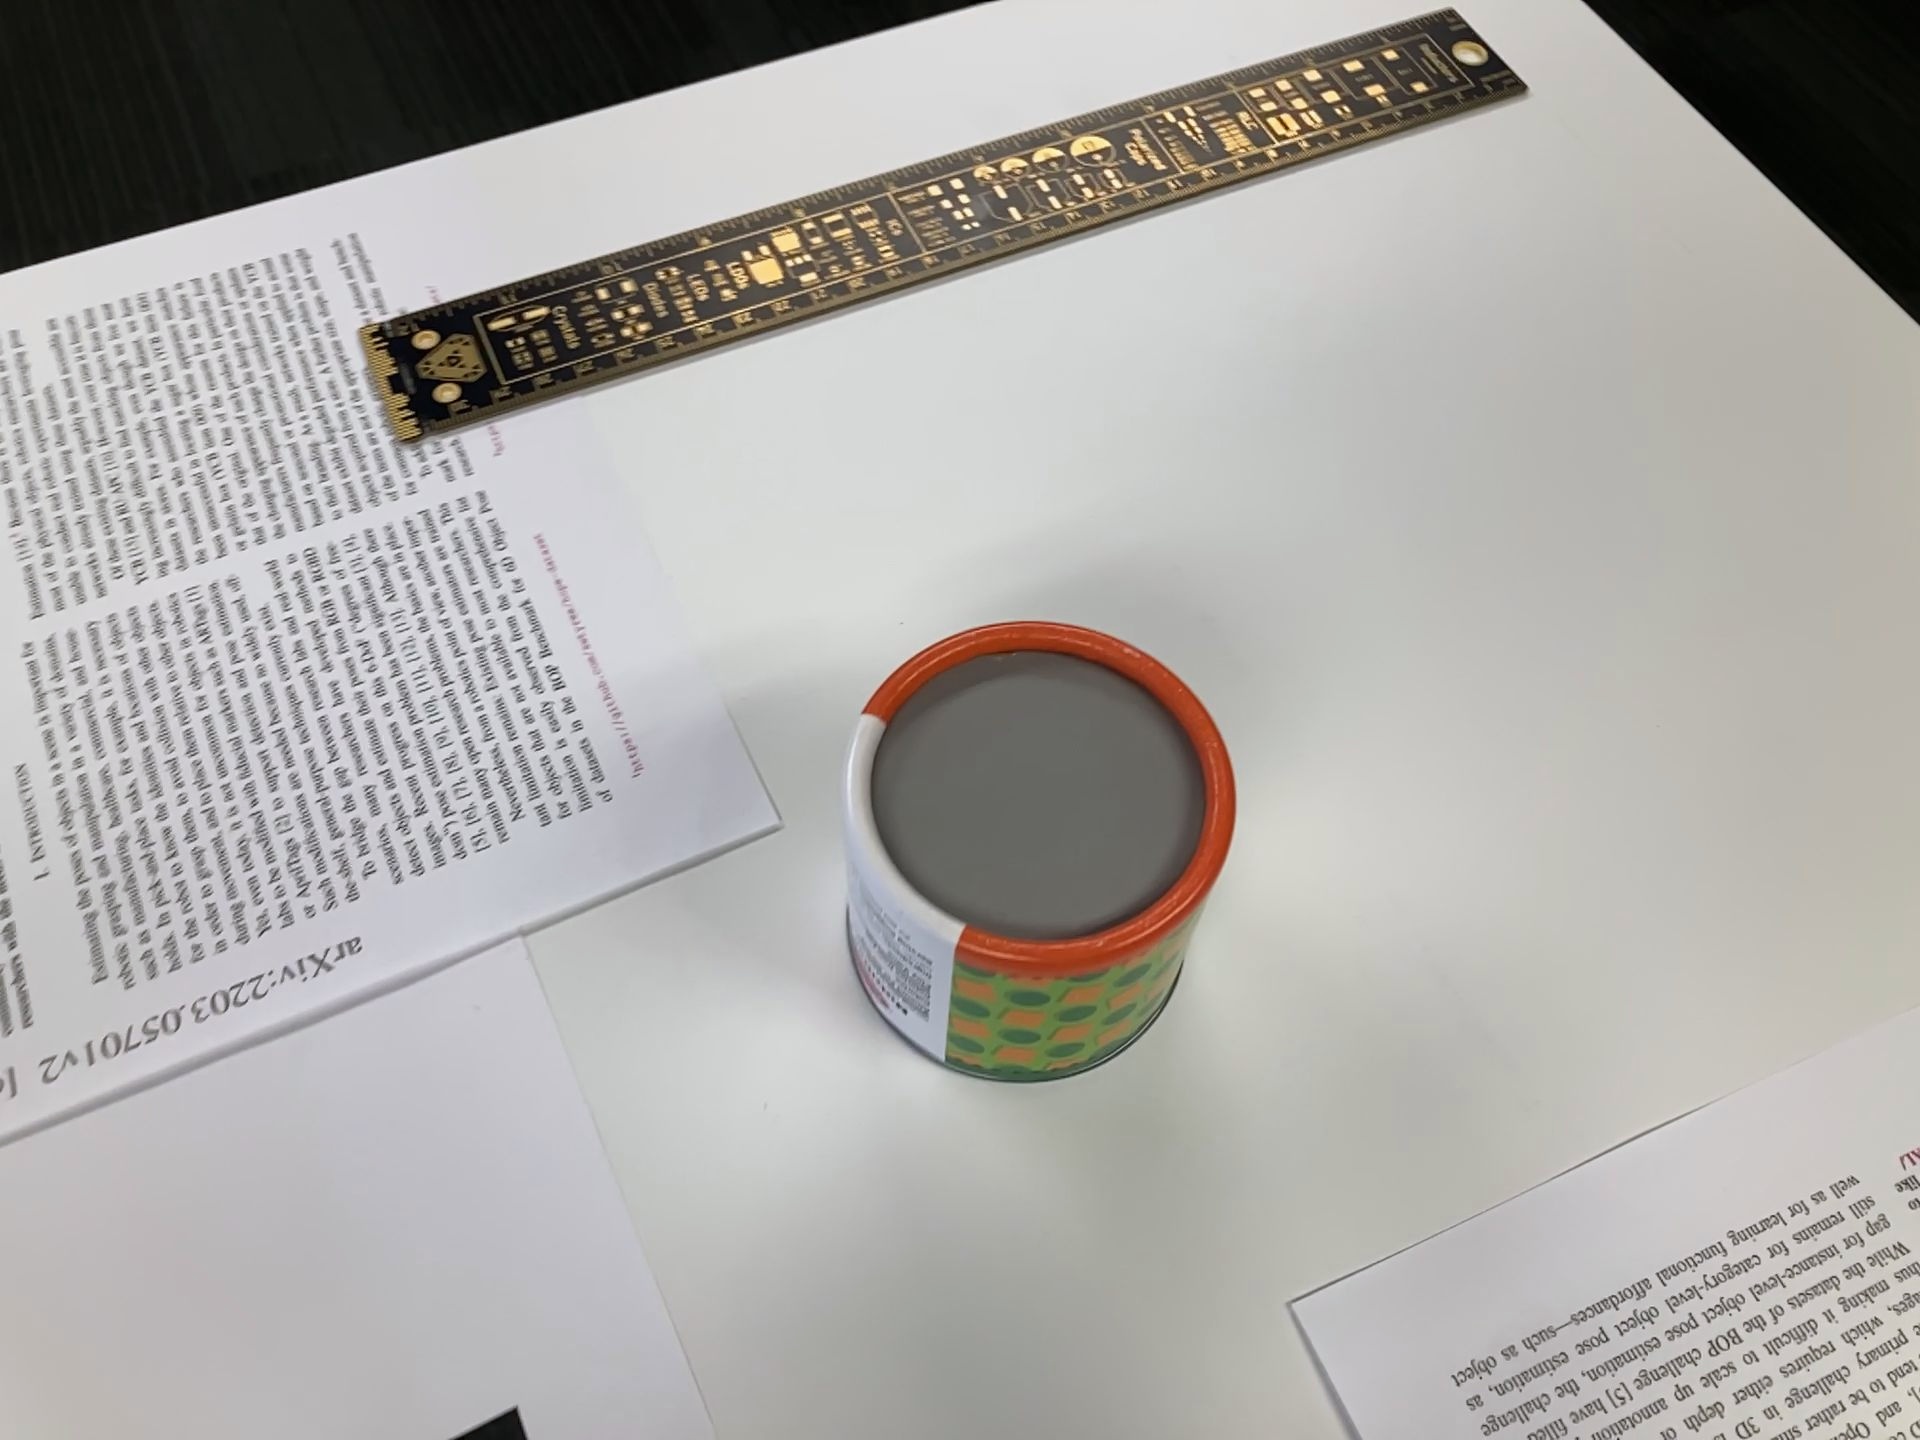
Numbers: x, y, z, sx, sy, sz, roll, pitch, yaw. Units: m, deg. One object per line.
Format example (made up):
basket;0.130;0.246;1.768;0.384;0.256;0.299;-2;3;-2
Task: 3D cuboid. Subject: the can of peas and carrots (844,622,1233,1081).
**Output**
can of peas and carrots;0.014;0.024;0.289;0.071;0.059;0.071;1;60;-2
